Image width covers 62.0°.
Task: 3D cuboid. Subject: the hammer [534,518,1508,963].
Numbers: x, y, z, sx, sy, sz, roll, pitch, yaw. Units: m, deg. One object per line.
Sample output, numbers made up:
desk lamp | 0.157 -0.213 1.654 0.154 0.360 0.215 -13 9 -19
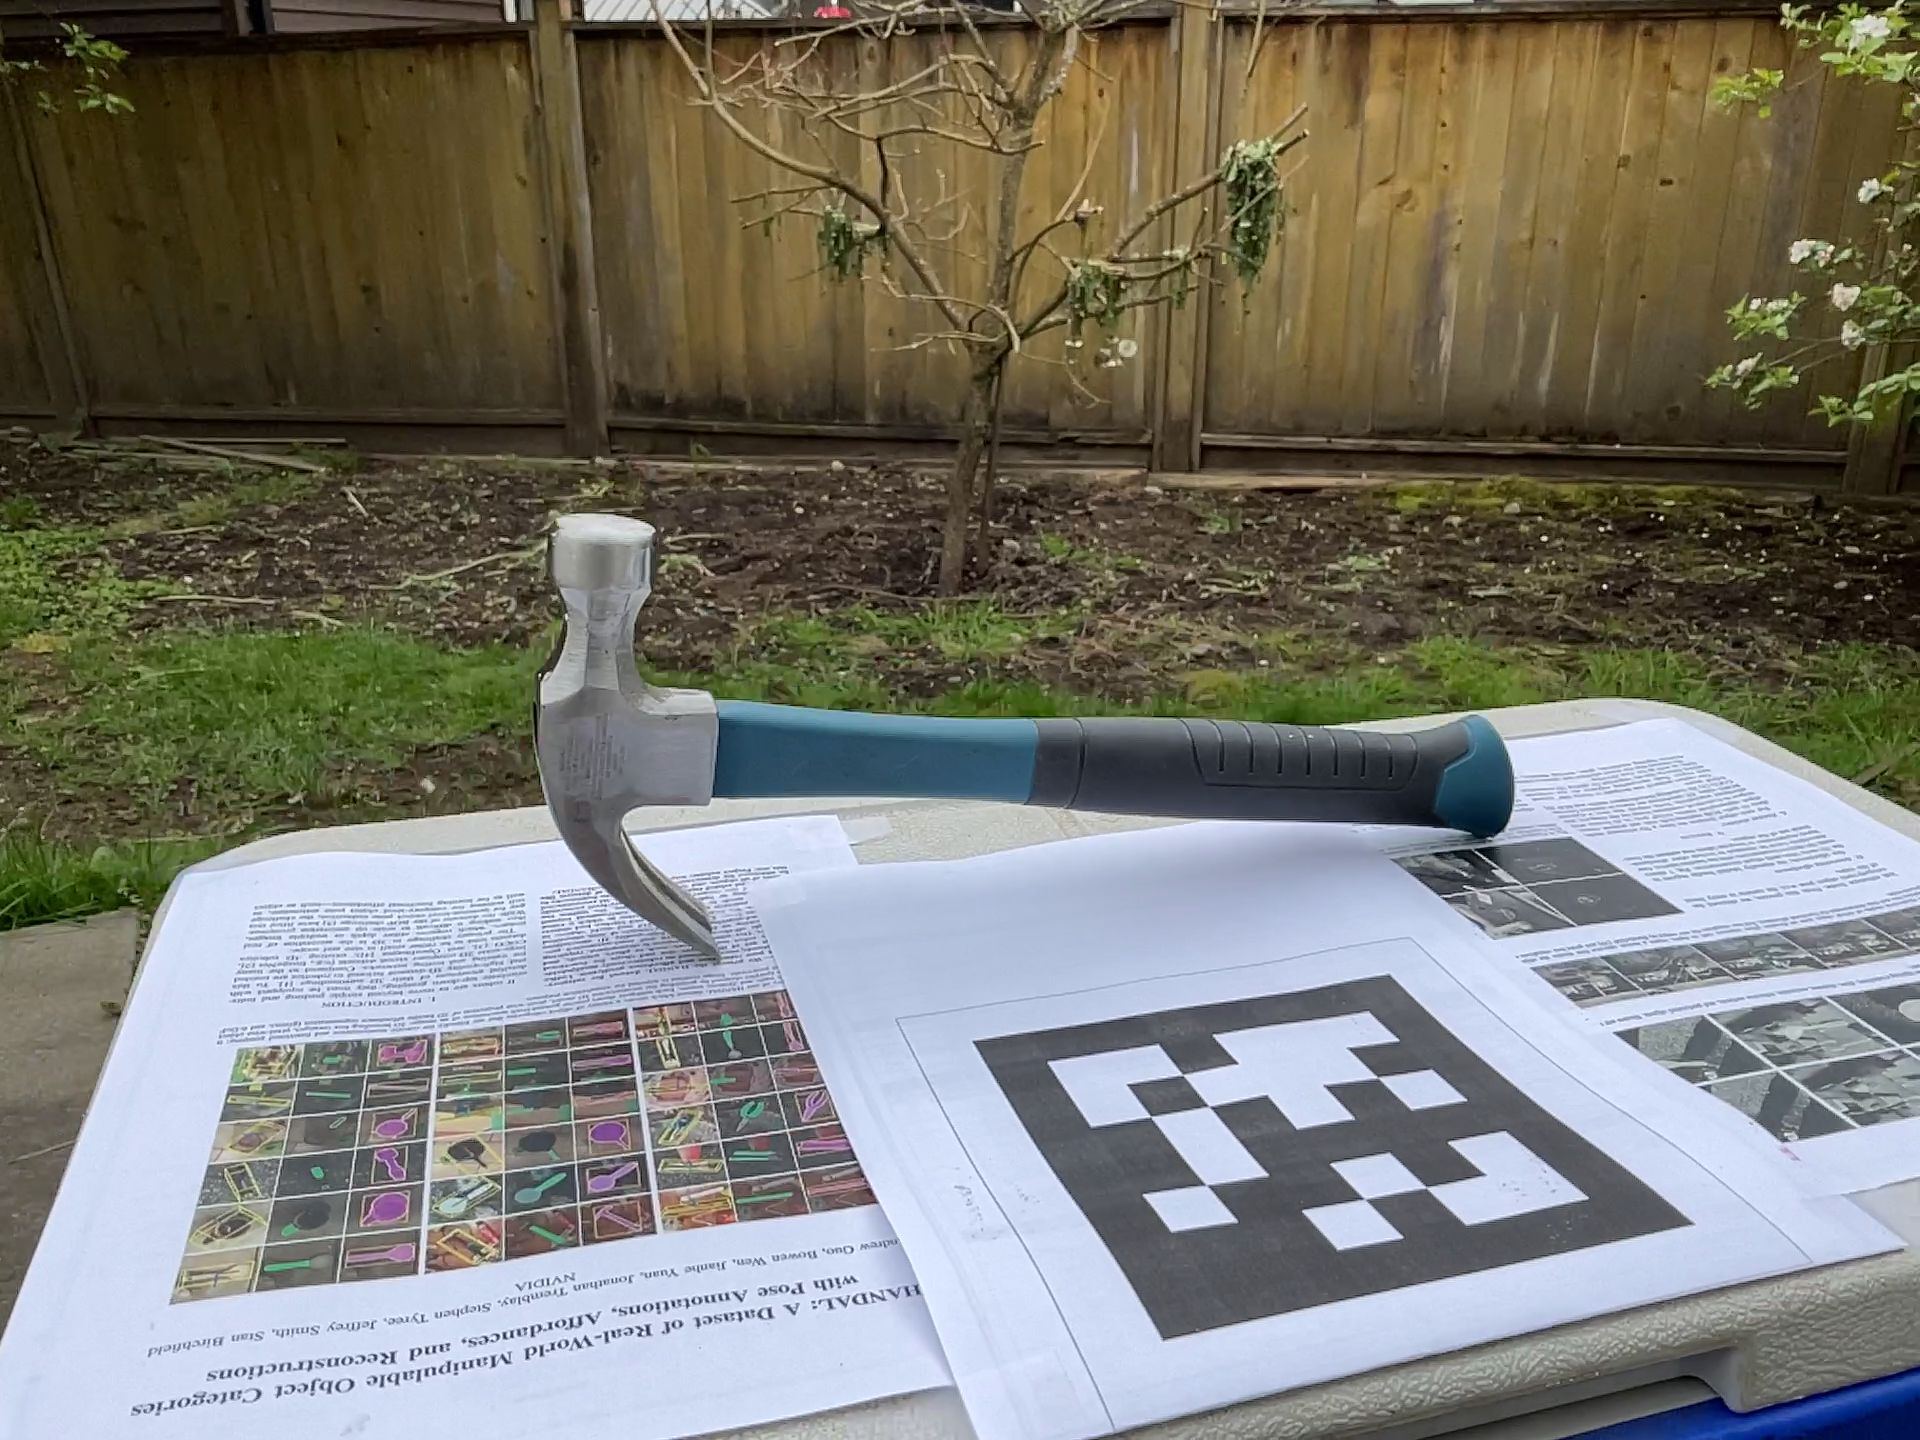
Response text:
hammer | 0.034 0.014 0.511 0.331 0.128 0.033 3 20 -19
